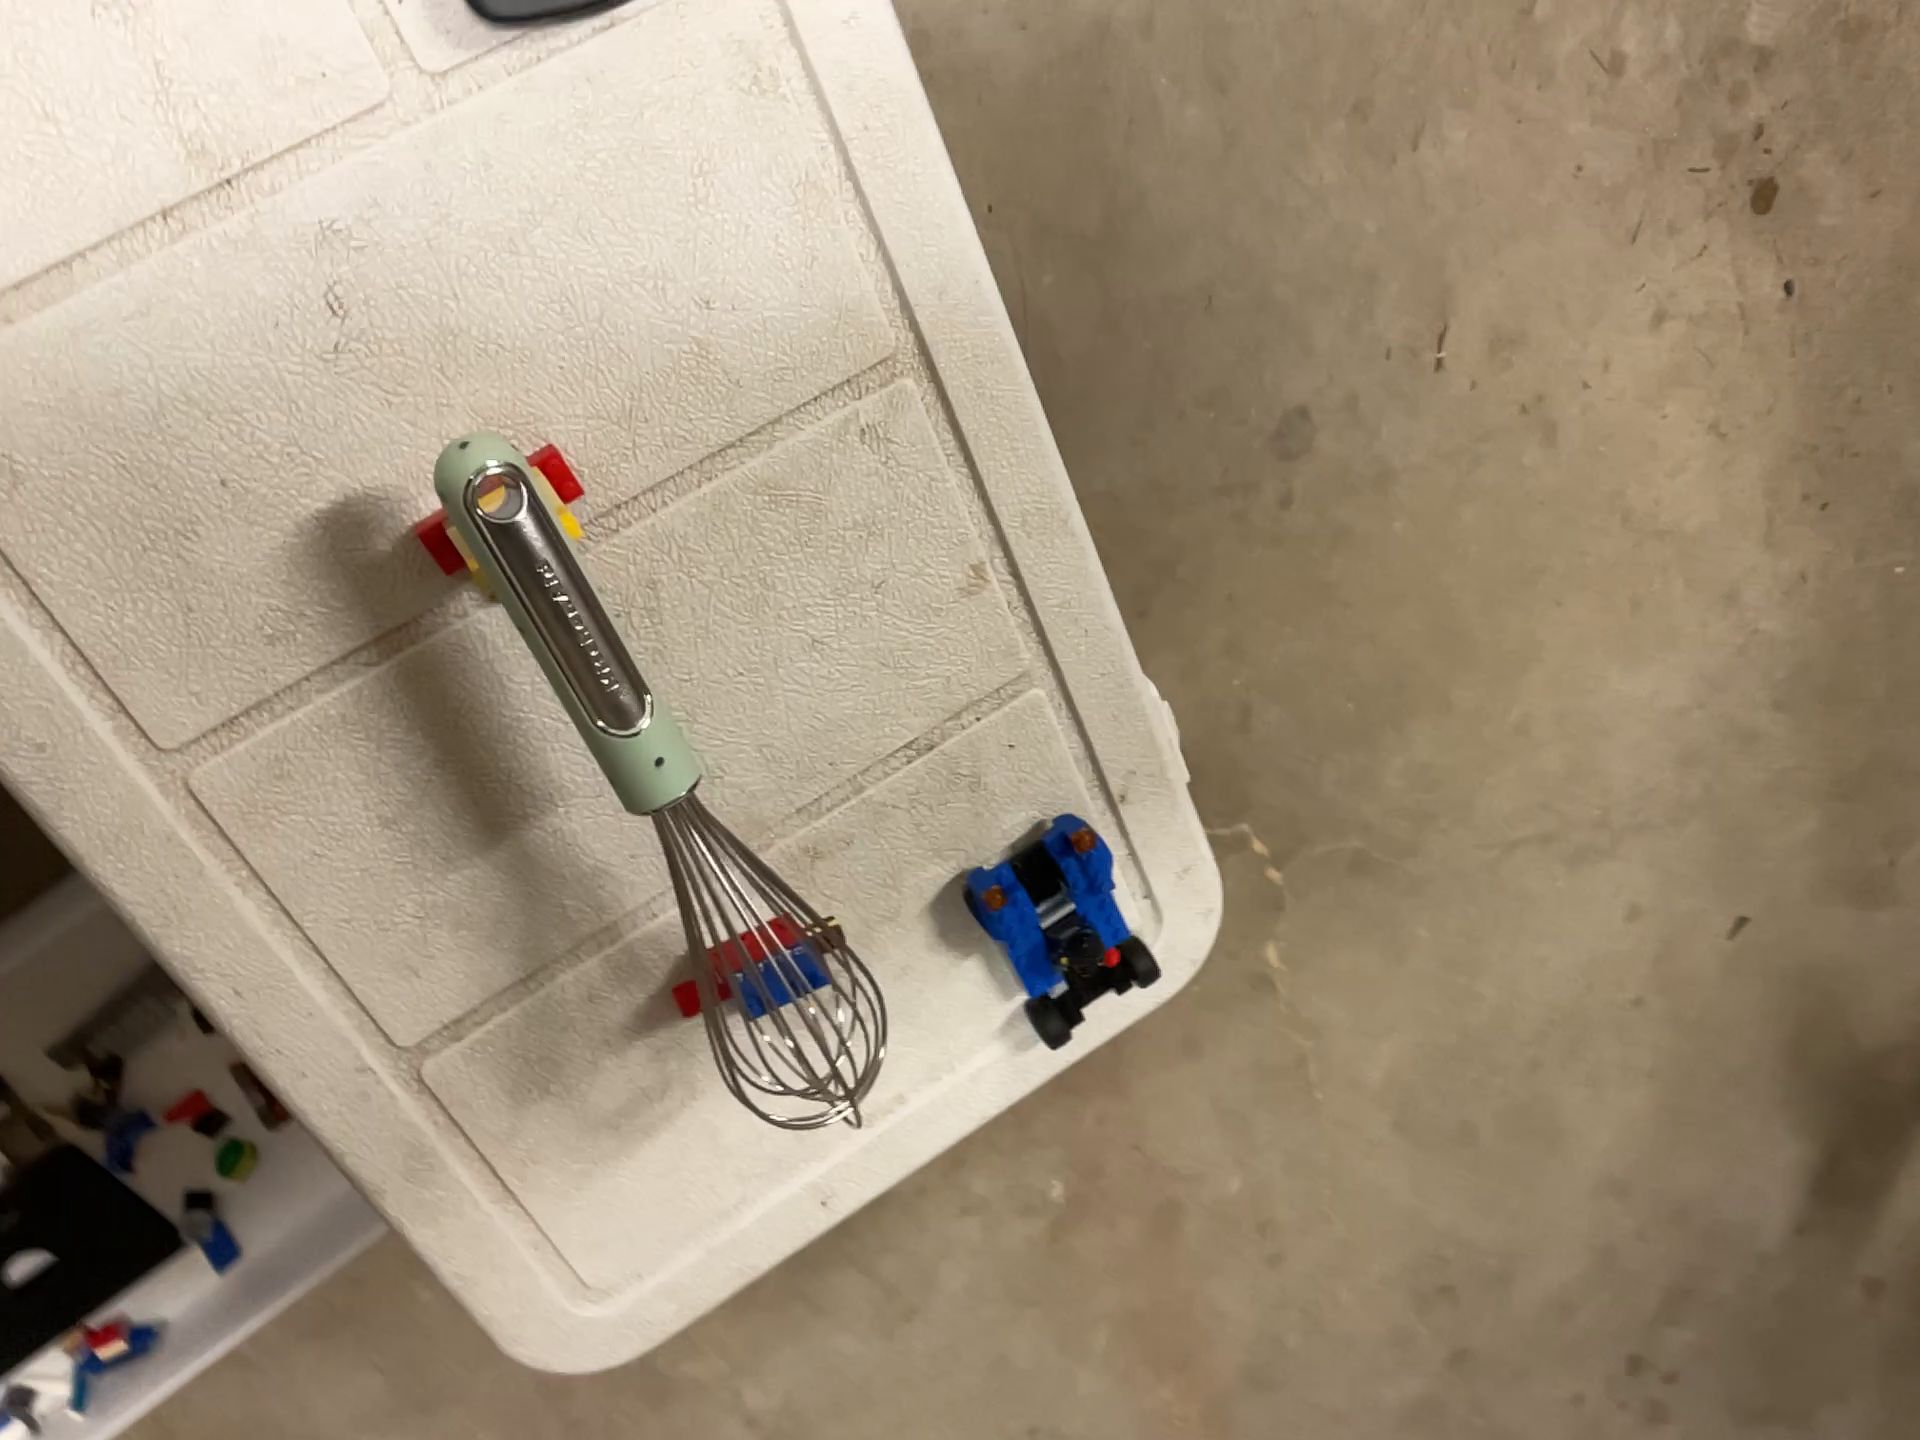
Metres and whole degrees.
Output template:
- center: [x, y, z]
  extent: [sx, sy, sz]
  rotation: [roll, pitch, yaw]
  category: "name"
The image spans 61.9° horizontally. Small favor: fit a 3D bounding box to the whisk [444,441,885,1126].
- center: [-0.085, 0.028, 0.482]
  extent: [0.058, 0.059, 0.246]
  rotation: [-33, 115, -18]
  category: "whisk"
